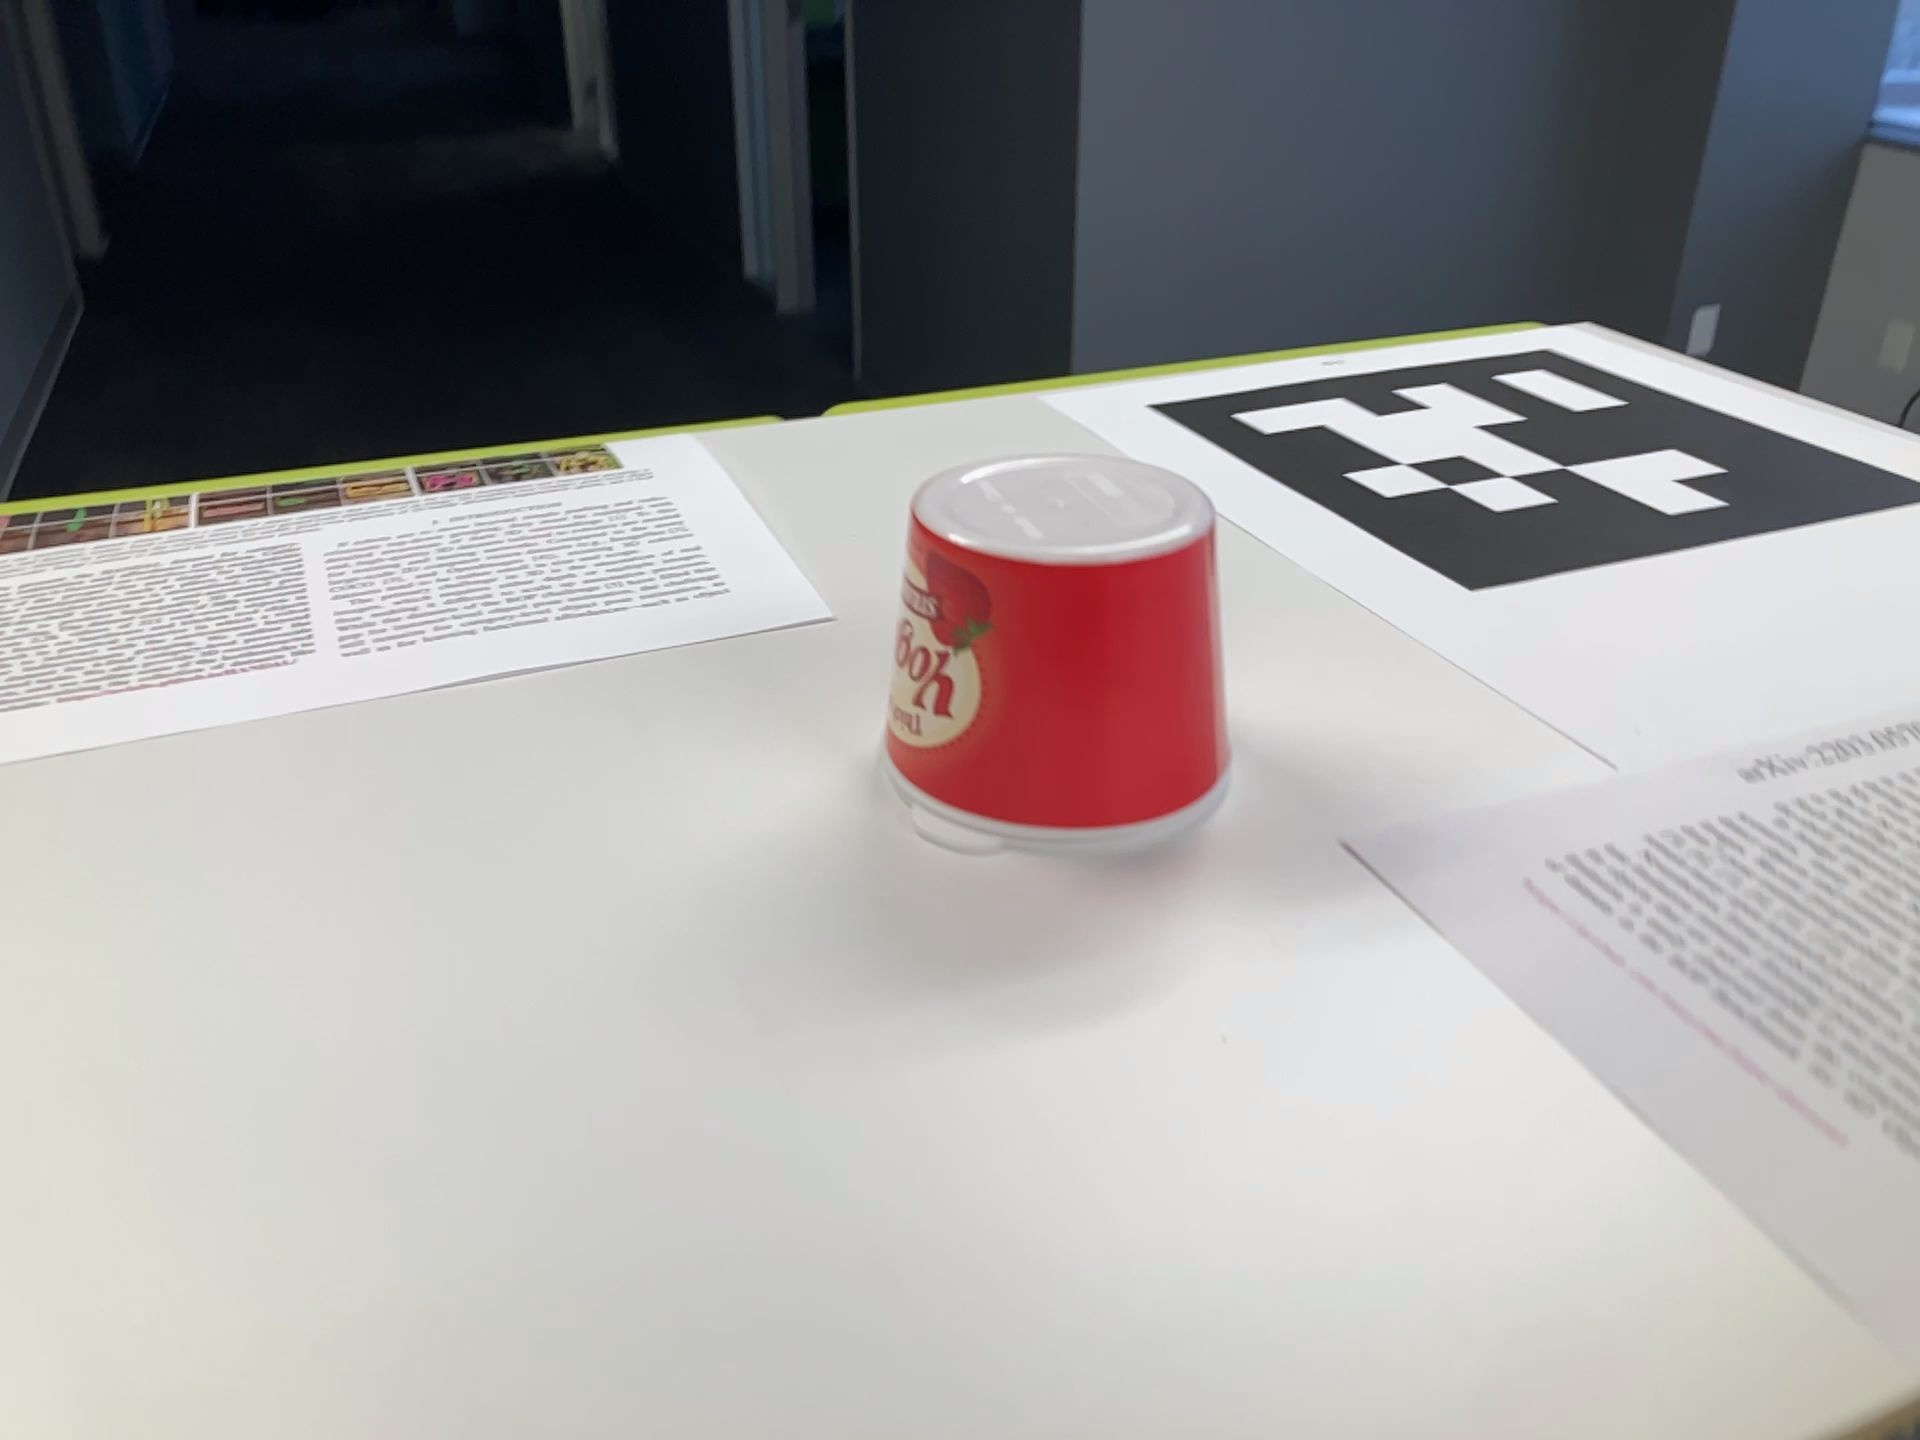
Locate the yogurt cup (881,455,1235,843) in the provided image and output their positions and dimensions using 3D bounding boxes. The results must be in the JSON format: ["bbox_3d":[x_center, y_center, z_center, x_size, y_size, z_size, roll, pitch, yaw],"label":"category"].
[{"bbox_3d":[0.018,-0.016,0.296,0.072,0.054,0.072,-1,27,0],"label":"yogurt cup"}]
